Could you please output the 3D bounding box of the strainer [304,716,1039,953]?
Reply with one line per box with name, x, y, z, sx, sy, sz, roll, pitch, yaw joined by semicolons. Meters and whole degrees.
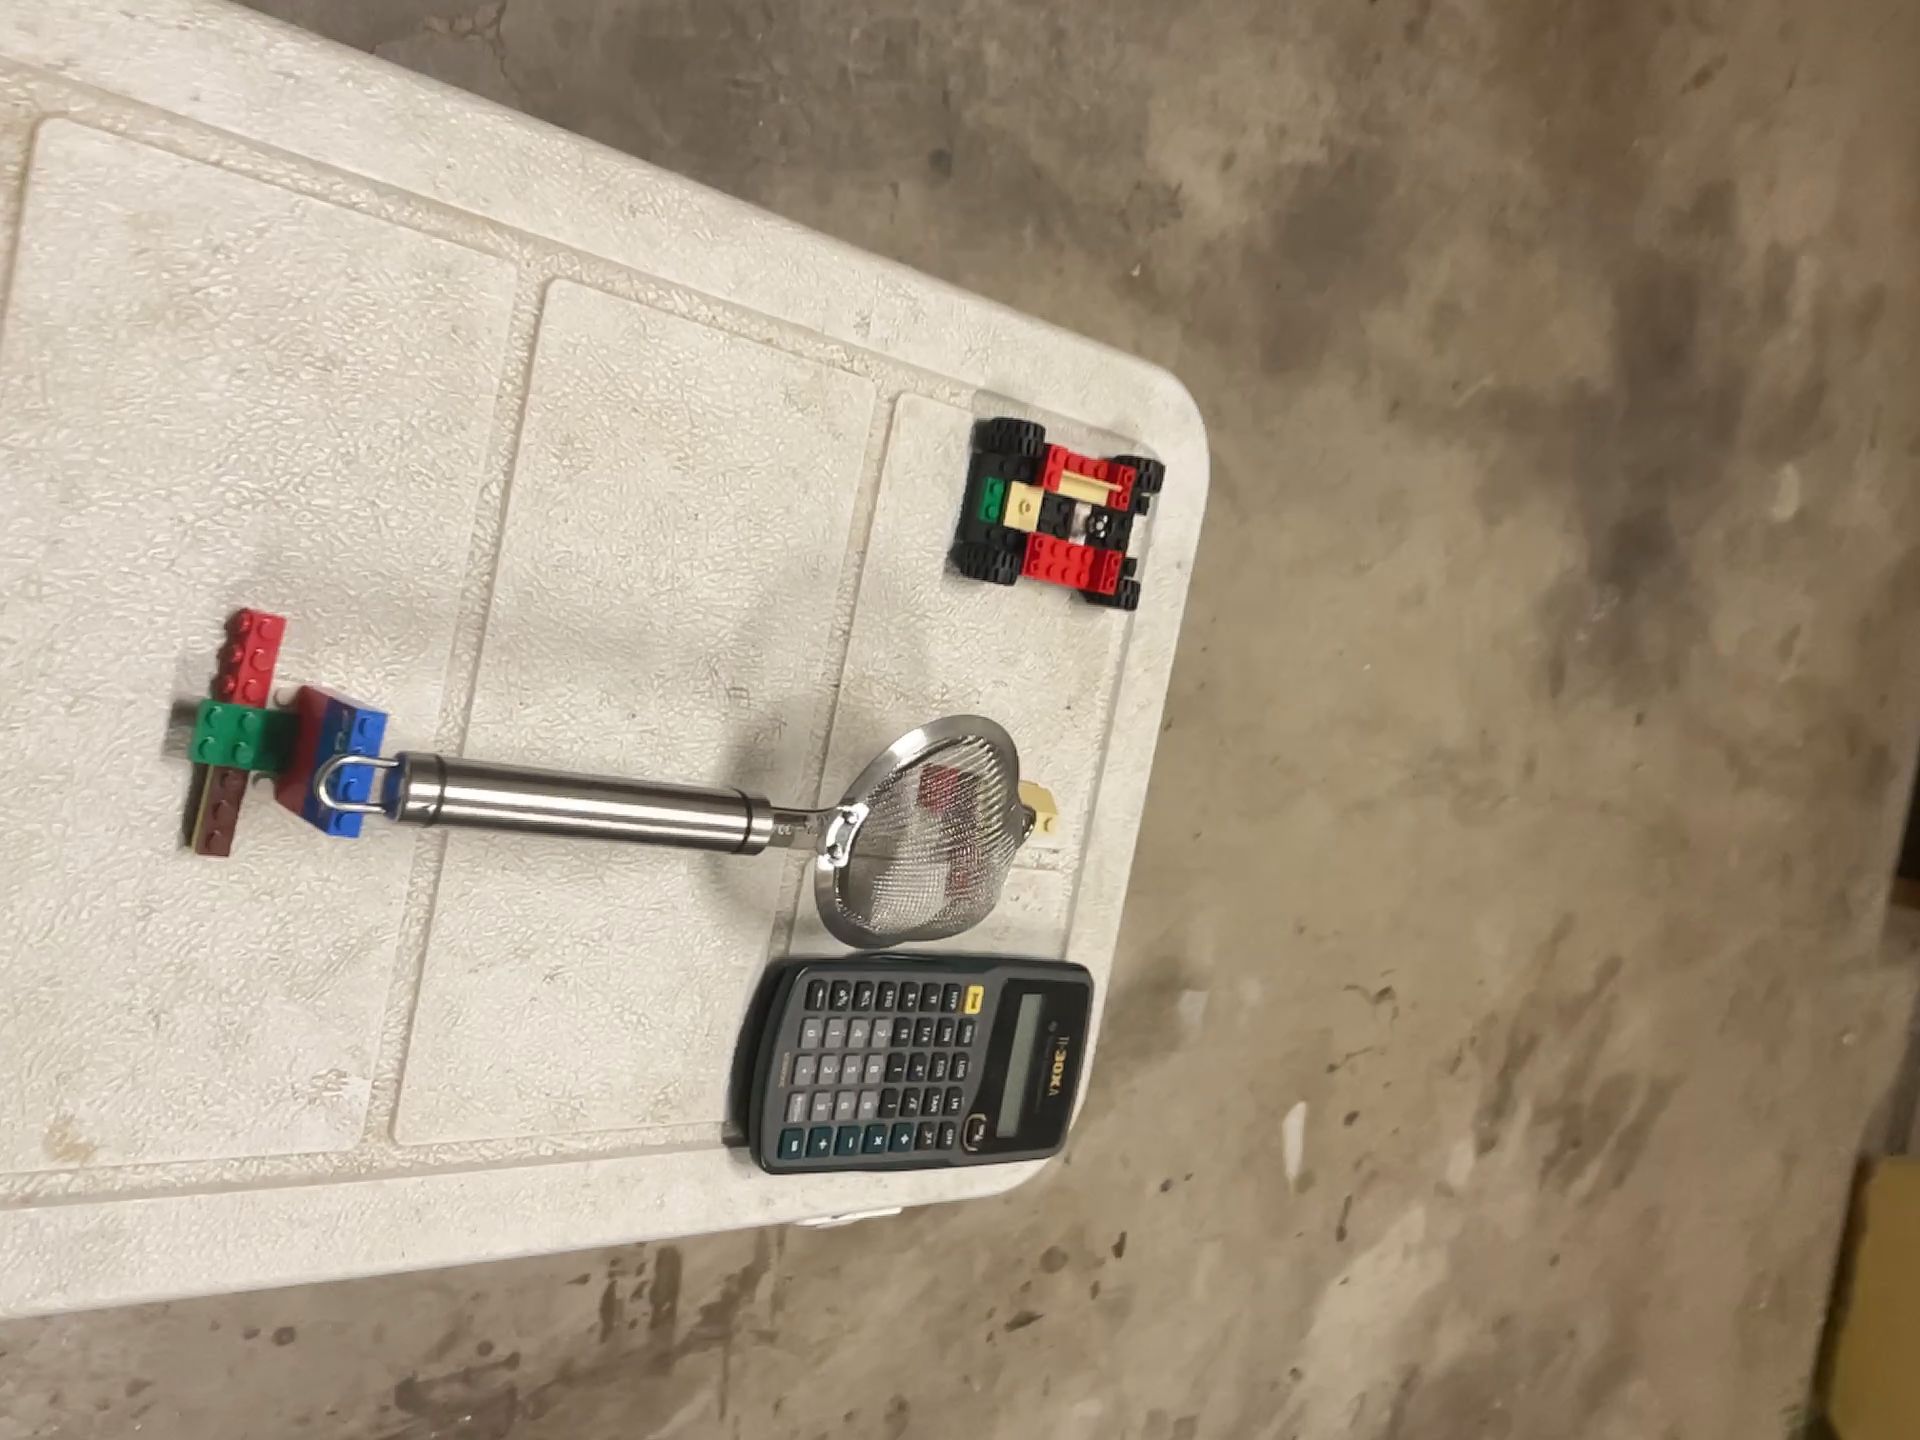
strainer;-0.059;0.033;0.463;0.258;0.050;0.087;10;109;-40
